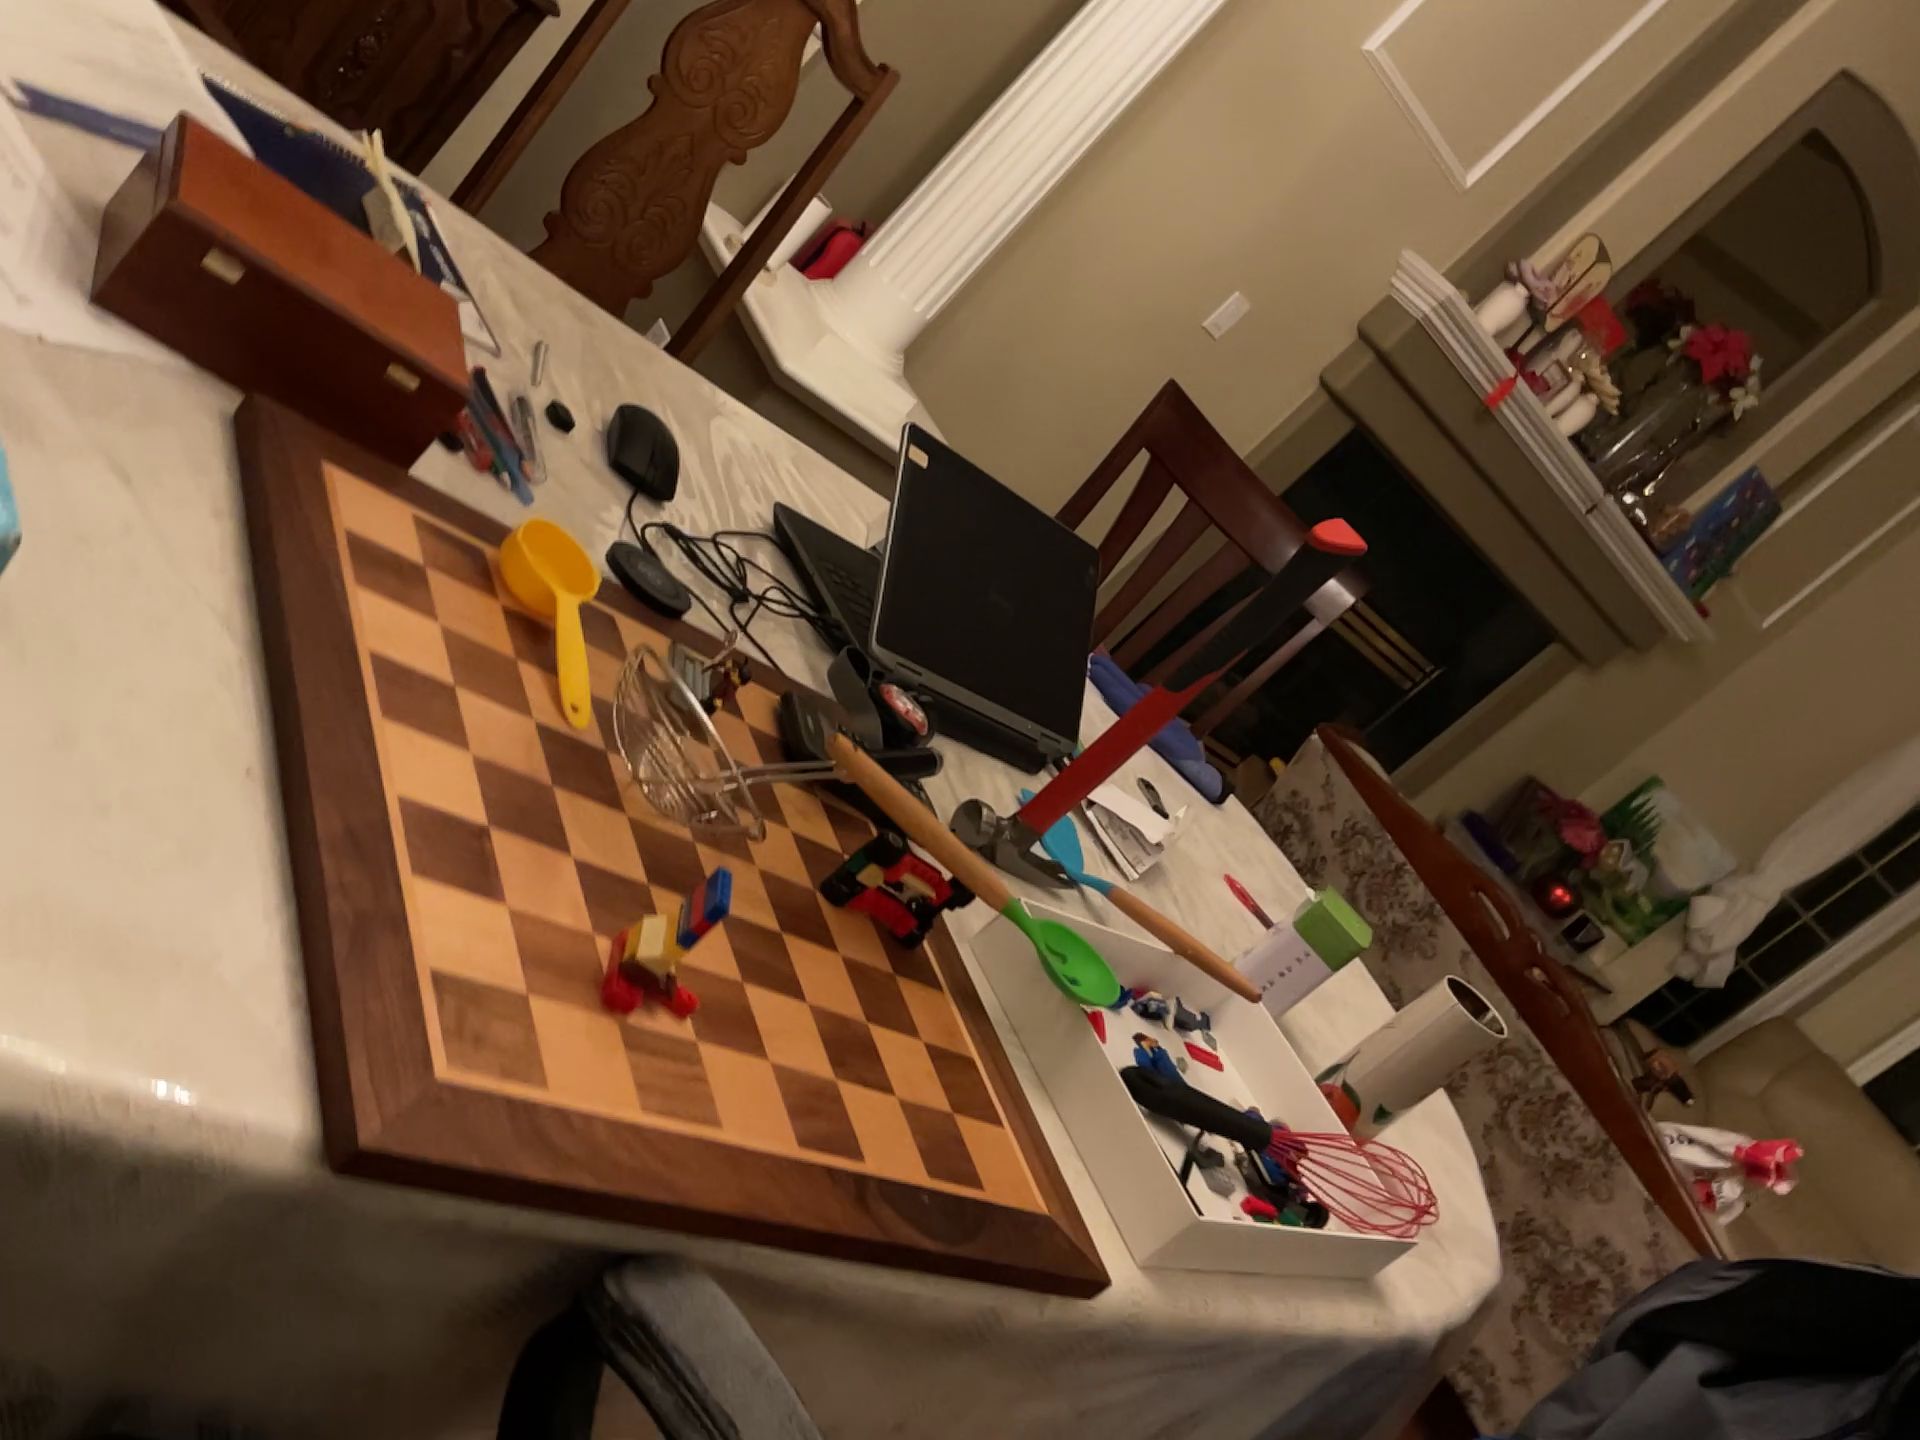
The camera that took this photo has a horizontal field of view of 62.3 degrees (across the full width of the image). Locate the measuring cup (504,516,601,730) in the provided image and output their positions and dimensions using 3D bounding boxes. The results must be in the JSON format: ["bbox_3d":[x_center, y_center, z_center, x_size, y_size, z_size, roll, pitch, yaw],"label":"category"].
[{"bbox_3d":[-0.238,-0.053,0.929,0.062,0.029,0.157,33,34,-47],"label":"measuring cup"}]

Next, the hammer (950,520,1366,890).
[{"bbox_3d":[0.171,-0.008,1.261,0.143,0.386,0.038,30,23,-43],"label":"hammer"}]

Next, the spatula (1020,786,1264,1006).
[{"bbox_3d":[0.152,0.151,1.353,0.082,0.044,0.318,34,1,-41],"label":"spatula"}]

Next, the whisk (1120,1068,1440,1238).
[{"bbox_3d":[0.244,0.323,1.204,0.295,0.073,0.073,26,4,-17],"label":"whisk"}]

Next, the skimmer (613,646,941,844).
[{"bbox_3d":[-0.087,0.016,0.995,0.127,0.090,0.362,51,21,18],"label":"skimmer"}]

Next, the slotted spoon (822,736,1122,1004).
[{"bbox_3d":[0.011,0.099,0.998,0.313,0.031,0.070,45,16,-39],"label":"slotted spoon"}]
